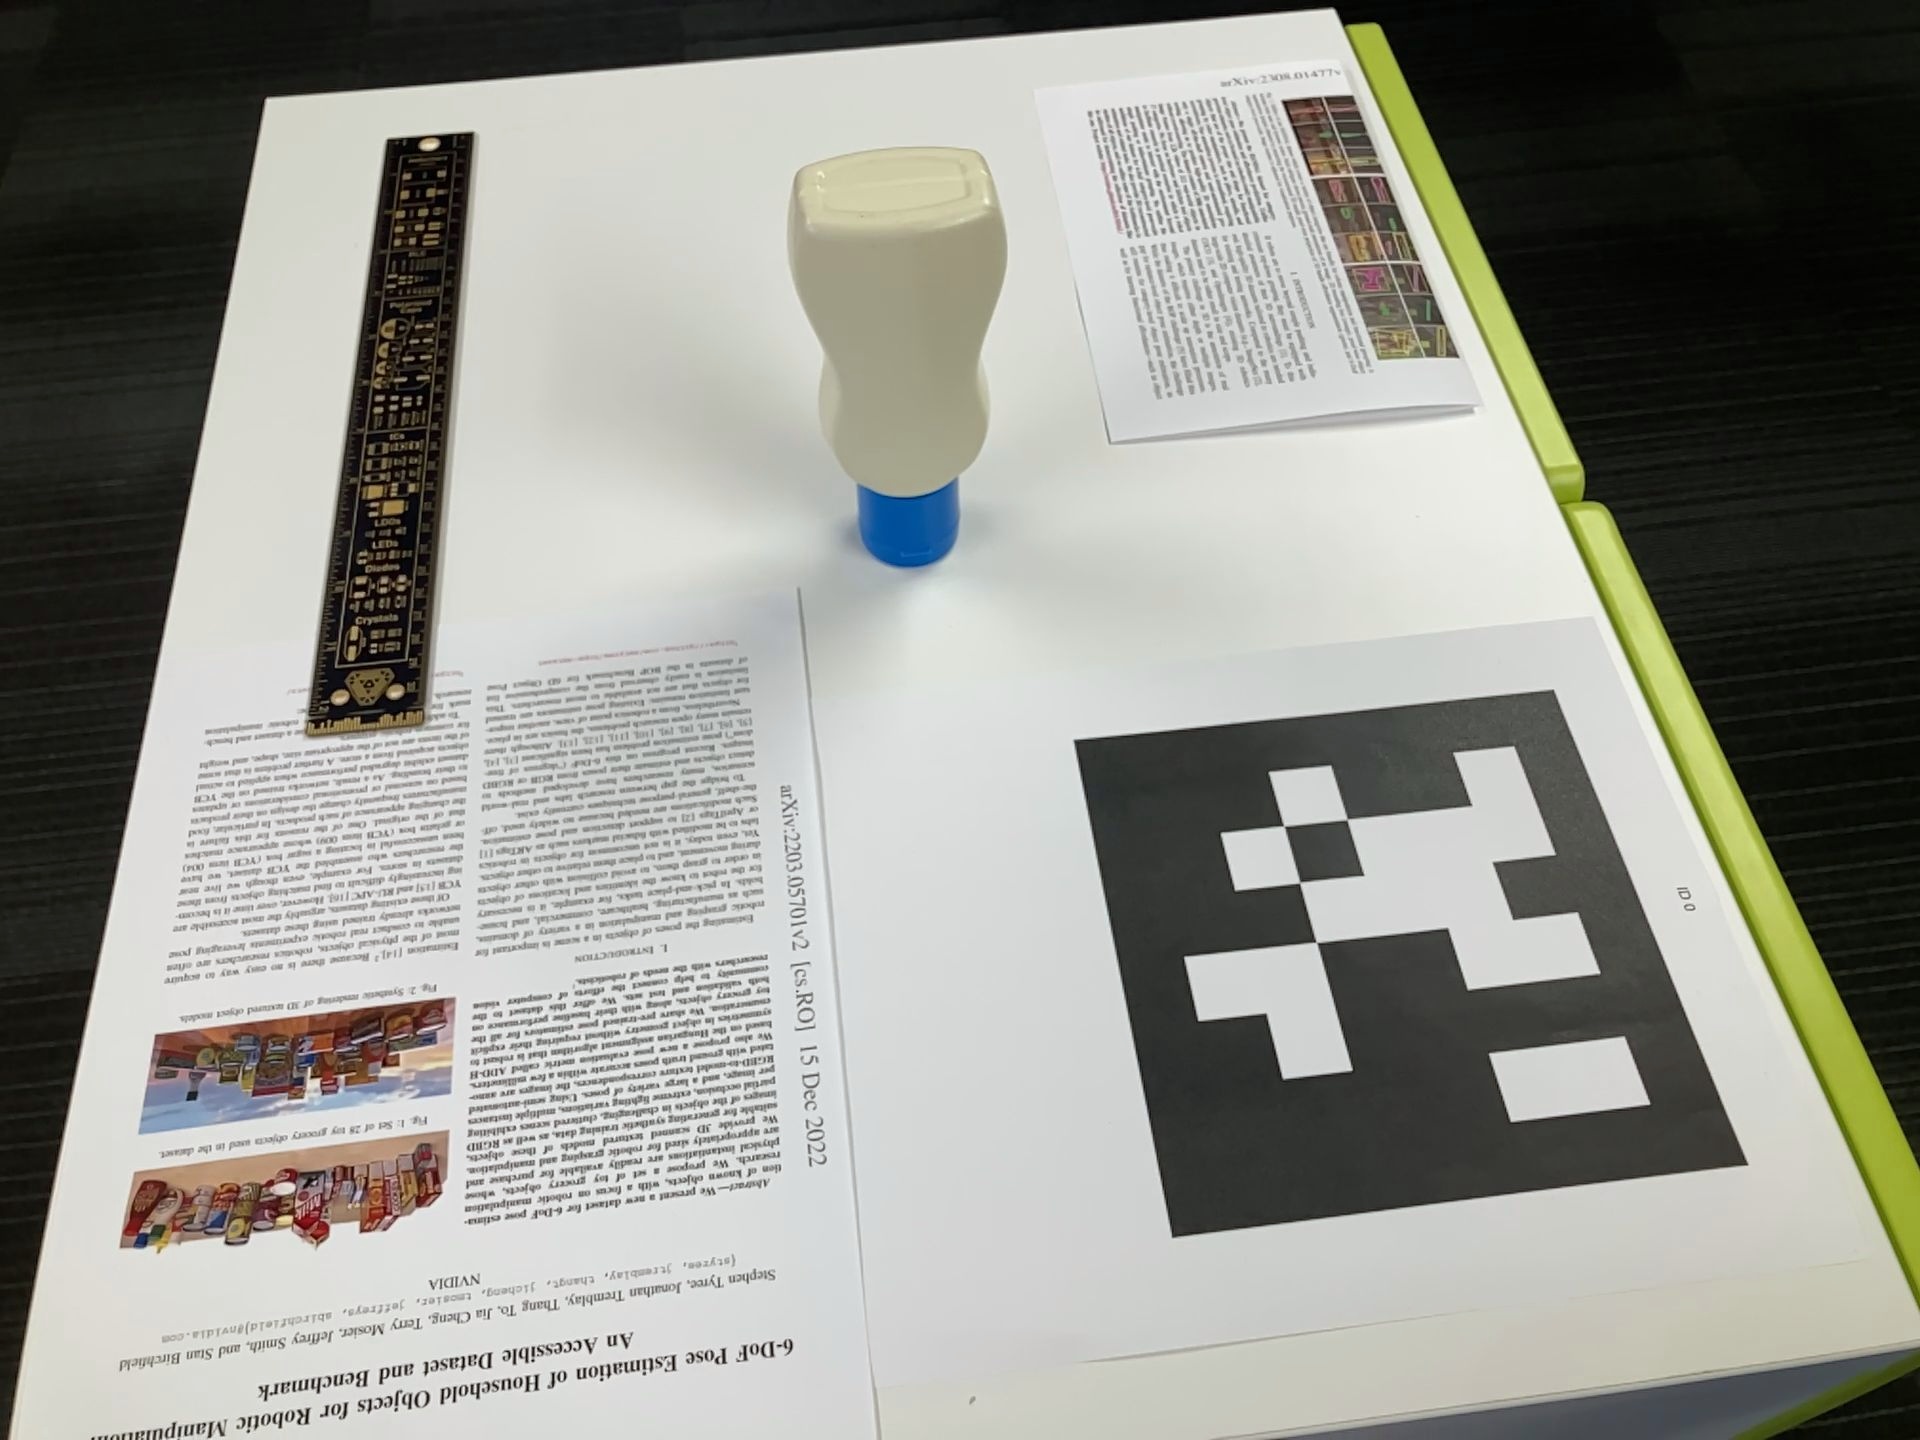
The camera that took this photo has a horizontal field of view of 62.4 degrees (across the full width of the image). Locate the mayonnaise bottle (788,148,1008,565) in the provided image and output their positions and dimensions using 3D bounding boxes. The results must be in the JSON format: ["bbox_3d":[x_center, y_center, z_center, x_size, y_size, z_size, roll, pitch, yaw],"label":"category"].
[{"bbox_3d":[-0.018,-0.112,0.515,0.065,0.148,0.041,-7,56,-5],"label":"mayonnaise bottle"}]
